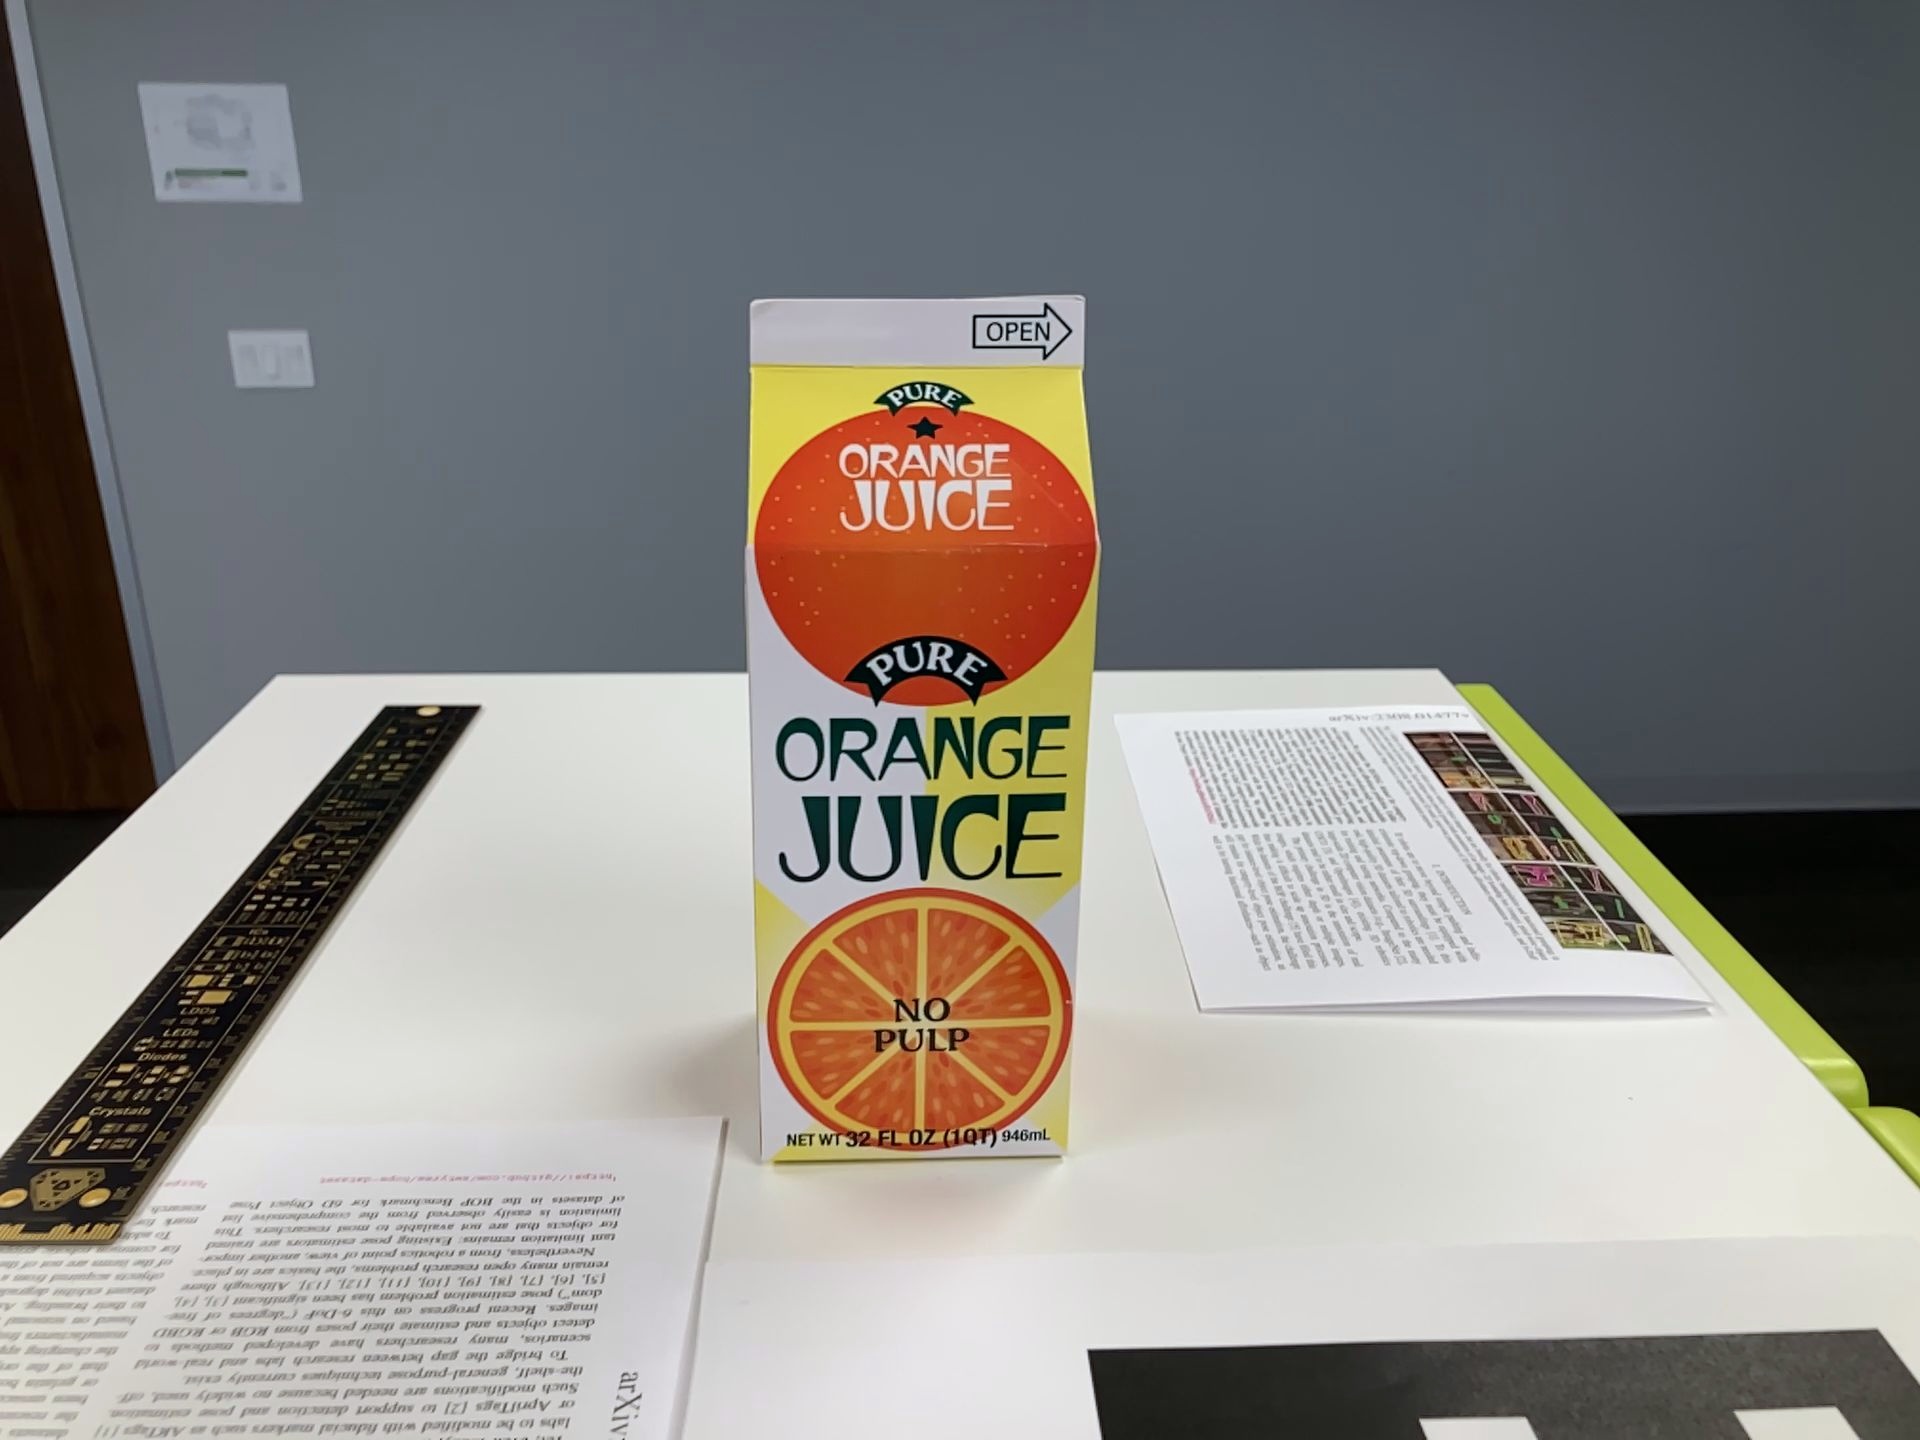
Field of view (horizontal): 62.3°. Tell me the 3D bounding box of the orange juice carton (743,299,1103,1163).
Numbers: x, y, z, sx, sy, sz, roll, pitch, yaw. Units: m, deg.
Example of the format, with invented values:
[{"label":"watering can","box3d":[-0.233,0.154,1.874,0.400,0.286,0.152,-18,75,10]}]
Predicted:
[{"label":"orange juice carton","box3d":[-0.010,0.002,0.364,0.072,0.192,0.073,0,22,-4]}]
